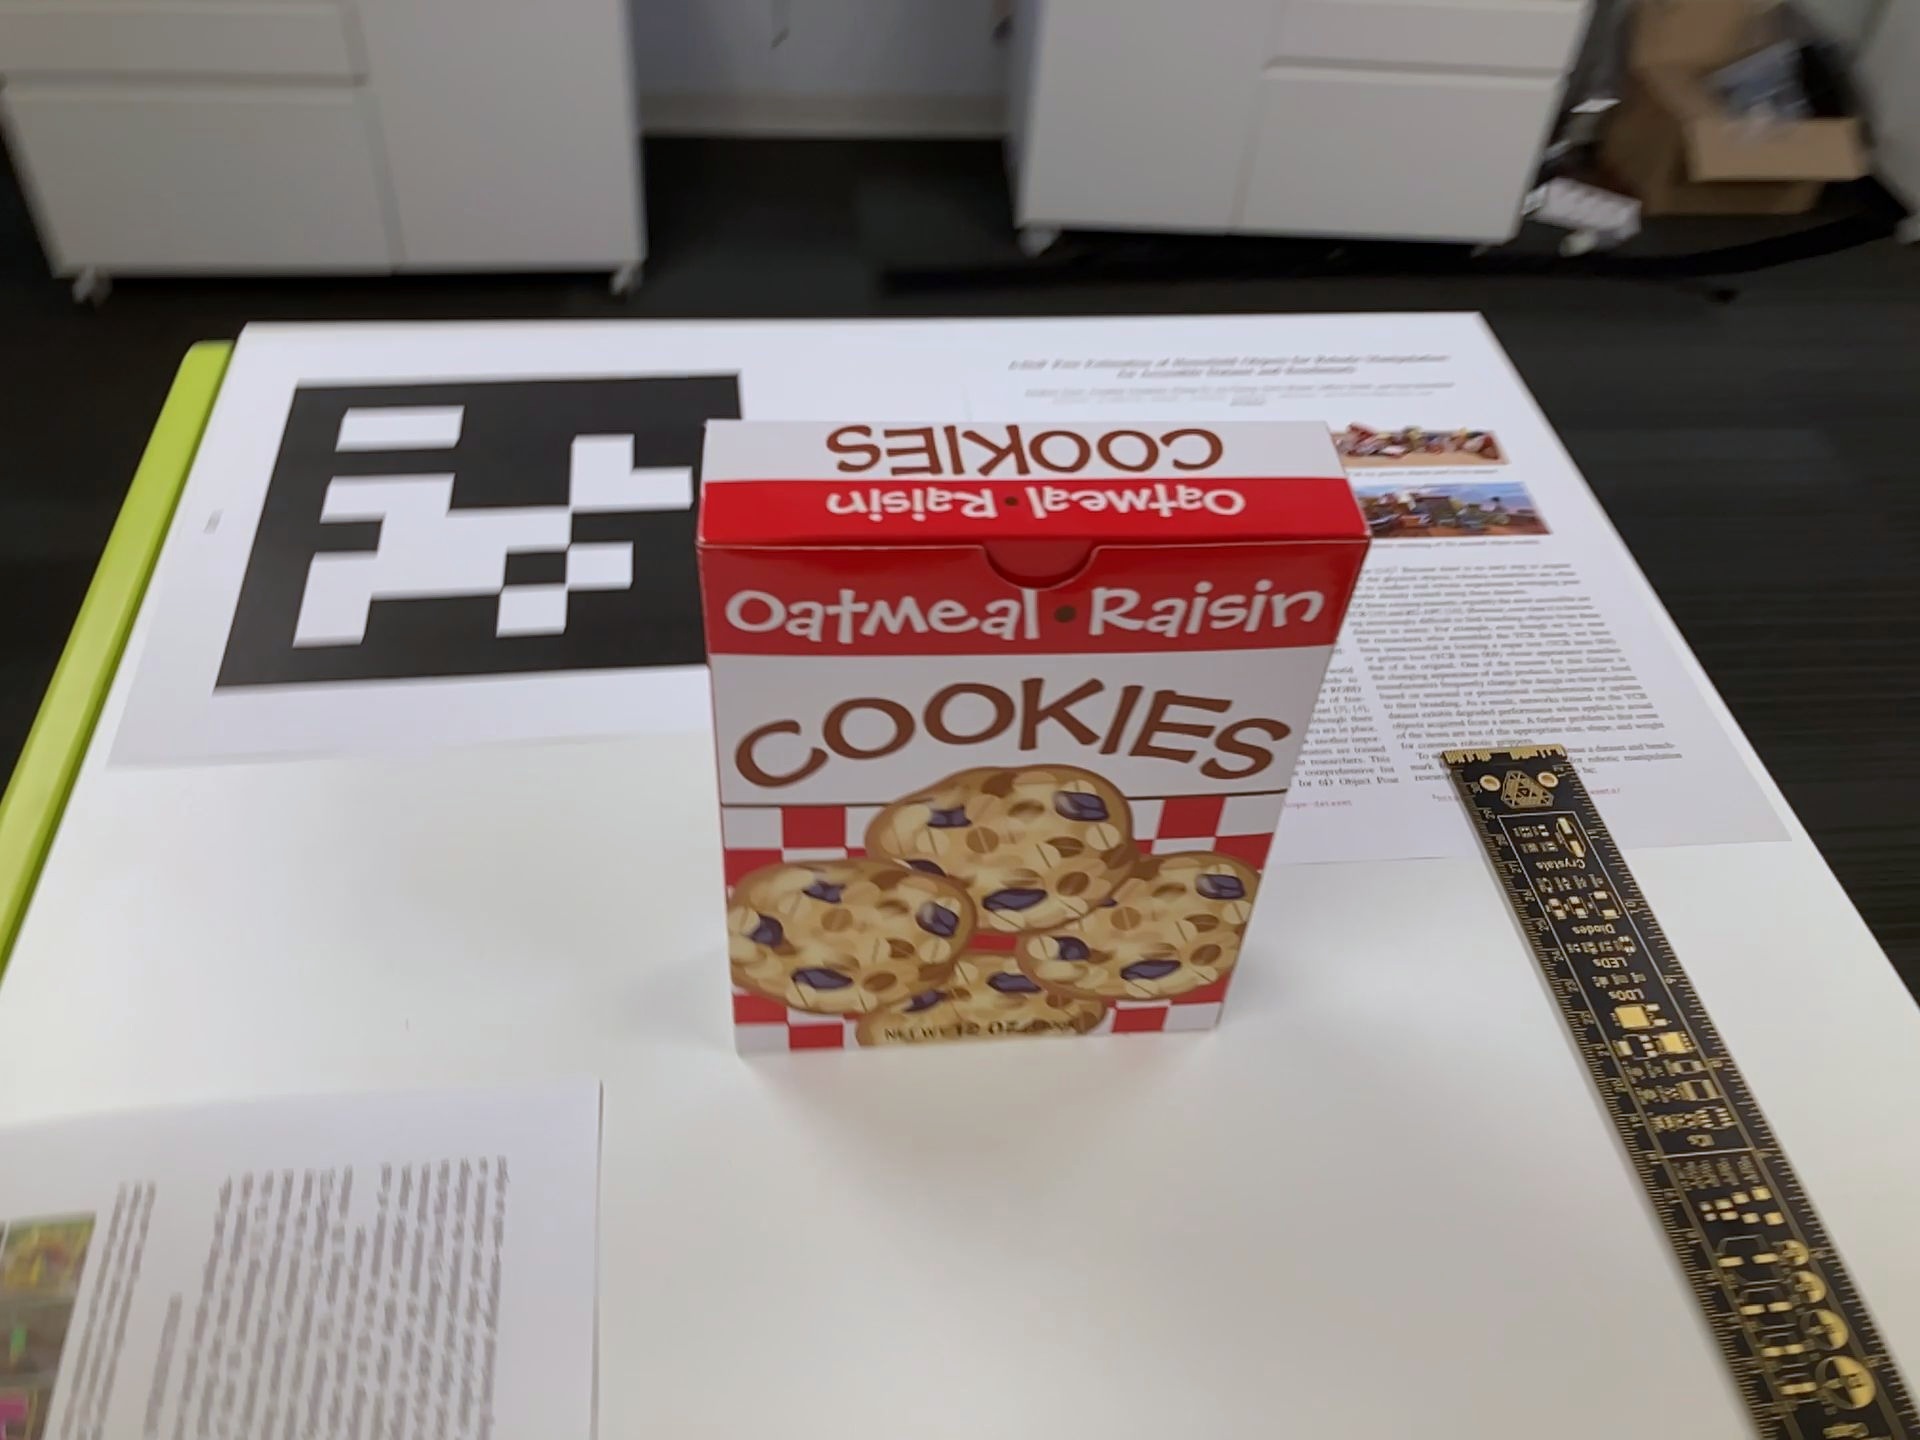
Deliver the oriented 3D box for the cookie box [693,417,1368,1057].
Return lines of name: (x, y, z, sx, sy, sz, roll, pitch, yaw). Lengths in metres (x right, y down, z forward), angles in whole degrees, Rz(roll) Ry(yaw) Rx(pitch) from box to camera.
cookie box: (0.008, 0.012, 0.351, 0.123, 0.167, 0.040, -1, 46, -6)
